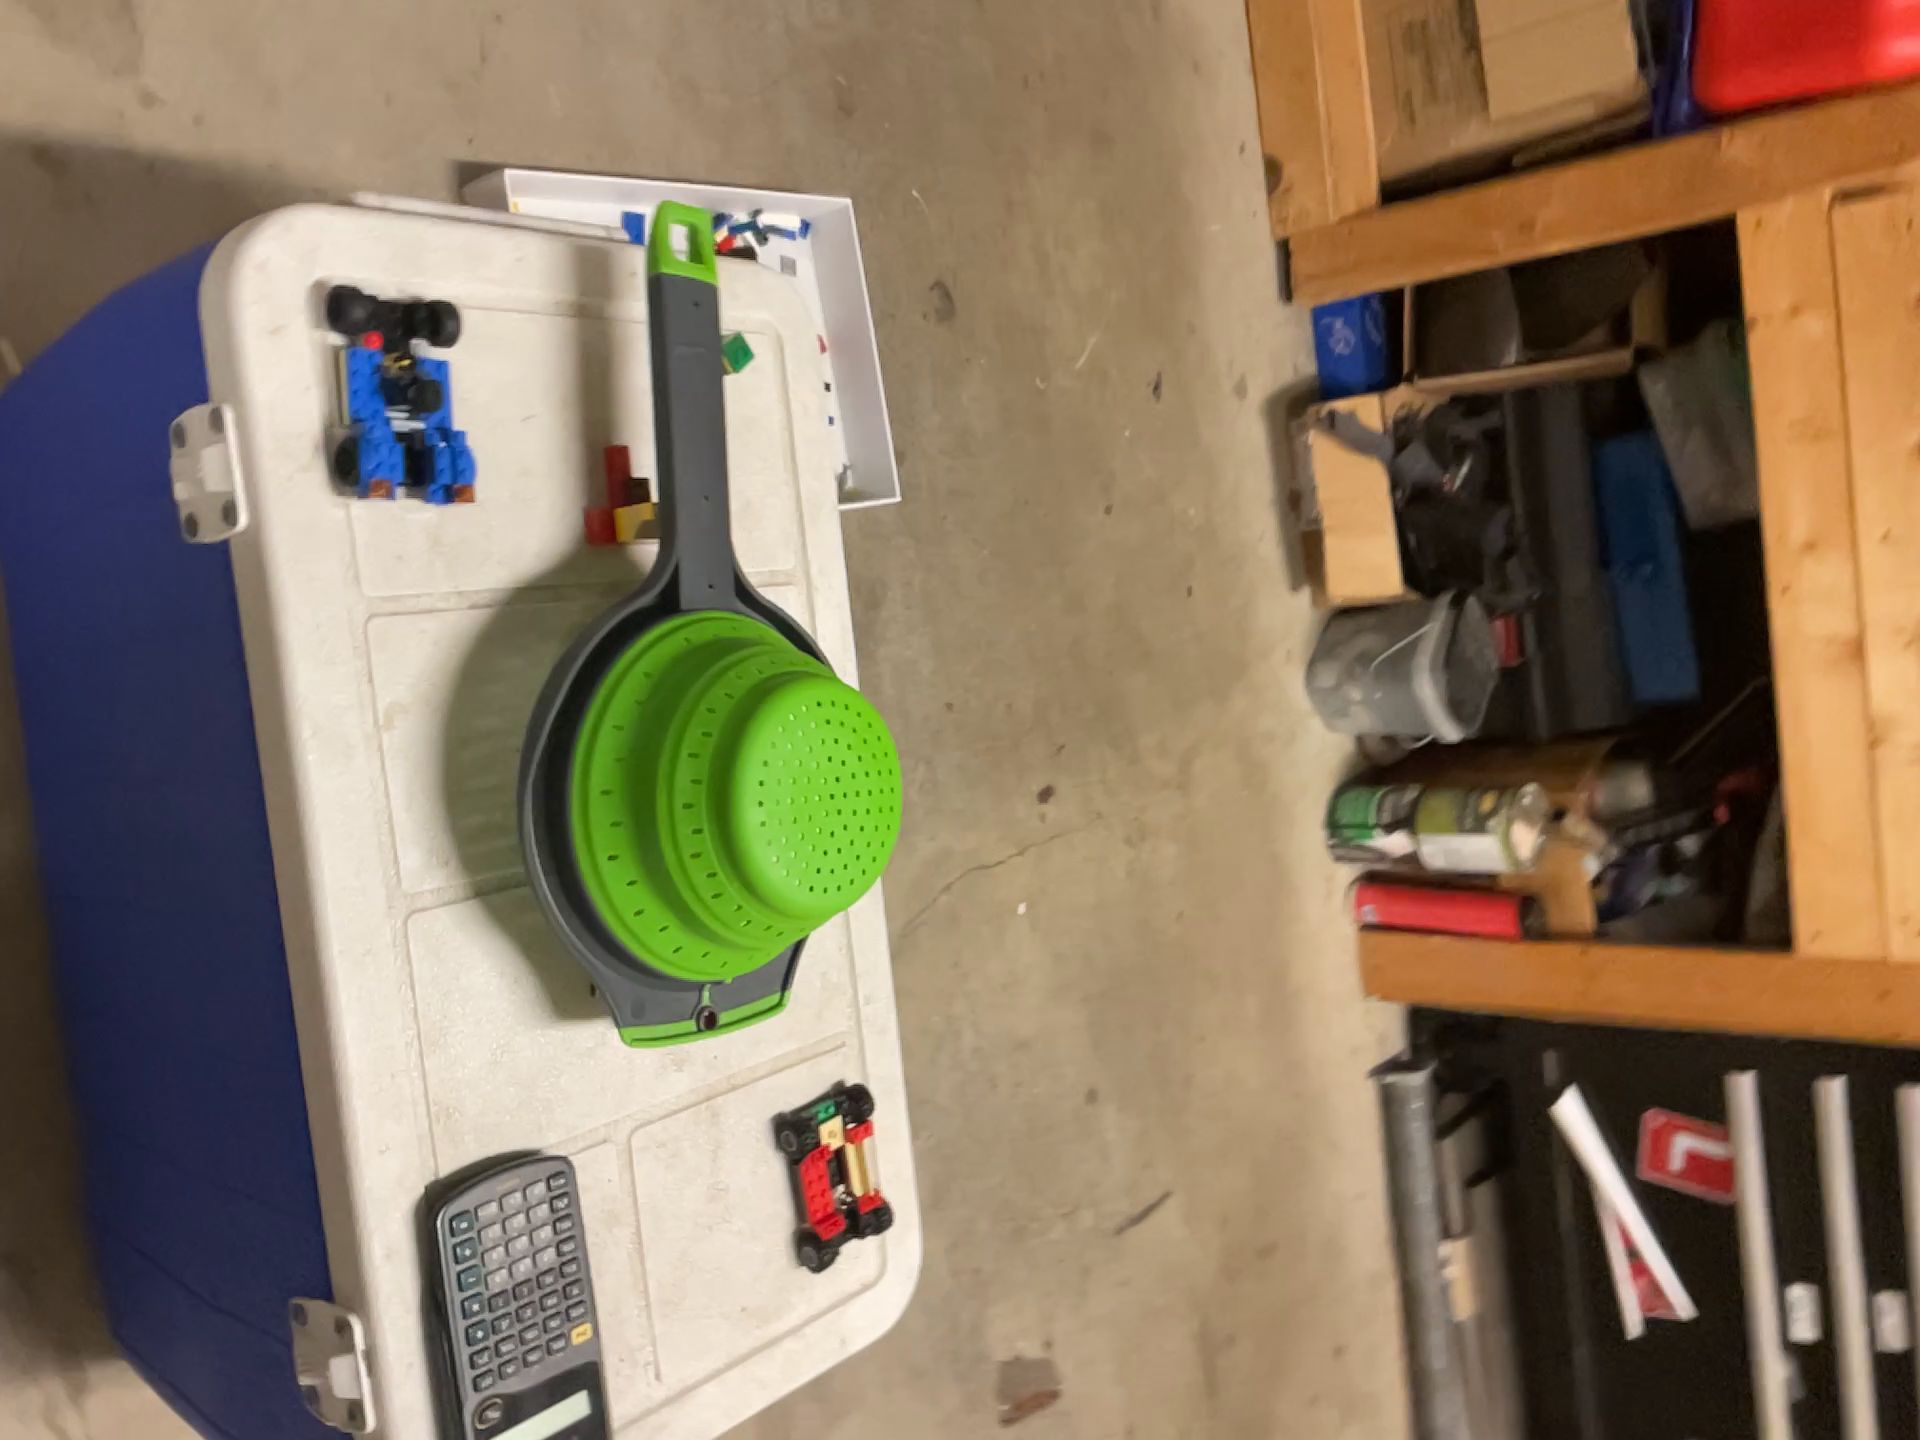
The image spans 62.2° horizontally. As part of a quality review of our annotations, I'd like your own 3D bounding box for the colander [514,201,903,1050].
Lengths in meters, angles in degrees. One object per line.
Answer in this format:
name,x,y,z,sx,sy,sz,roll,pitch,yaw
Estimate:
colander,-0.098,-0.047,0.736,0.204,0.094,0.397,-3,90,-50
